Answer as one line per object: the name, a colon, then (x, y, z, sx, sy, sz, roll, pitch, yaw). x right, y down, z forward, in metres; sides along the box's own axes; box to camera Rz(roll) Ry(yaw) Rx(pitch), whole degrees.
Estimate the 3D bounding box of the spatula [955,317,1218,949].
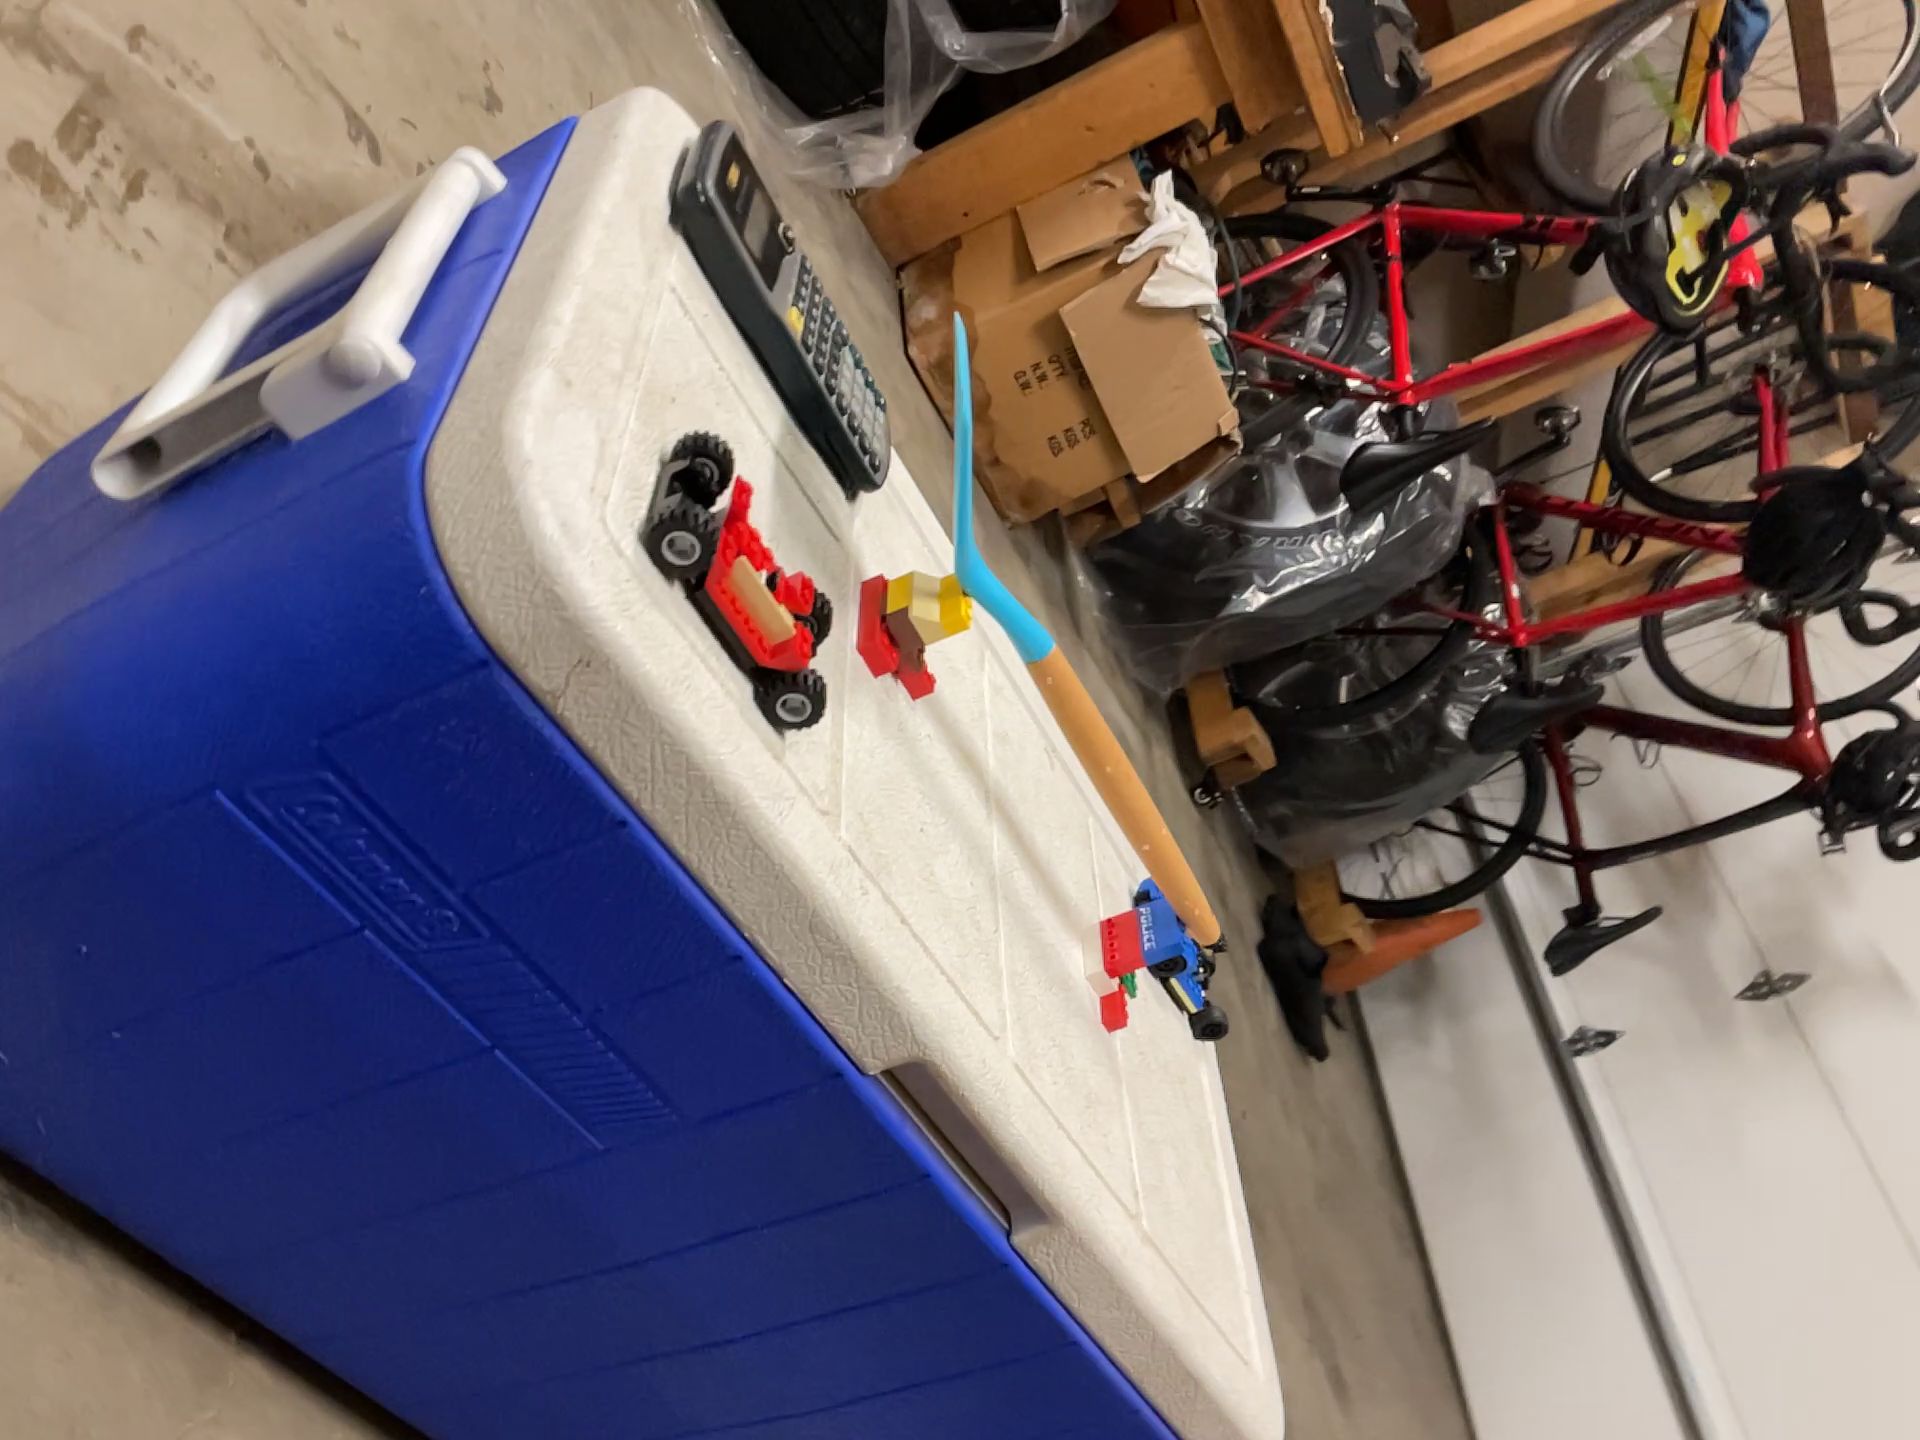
spatula: (0.053, -0.012, 0.659, 0.317, 0.044, 0.083, 57, 16, -33)
